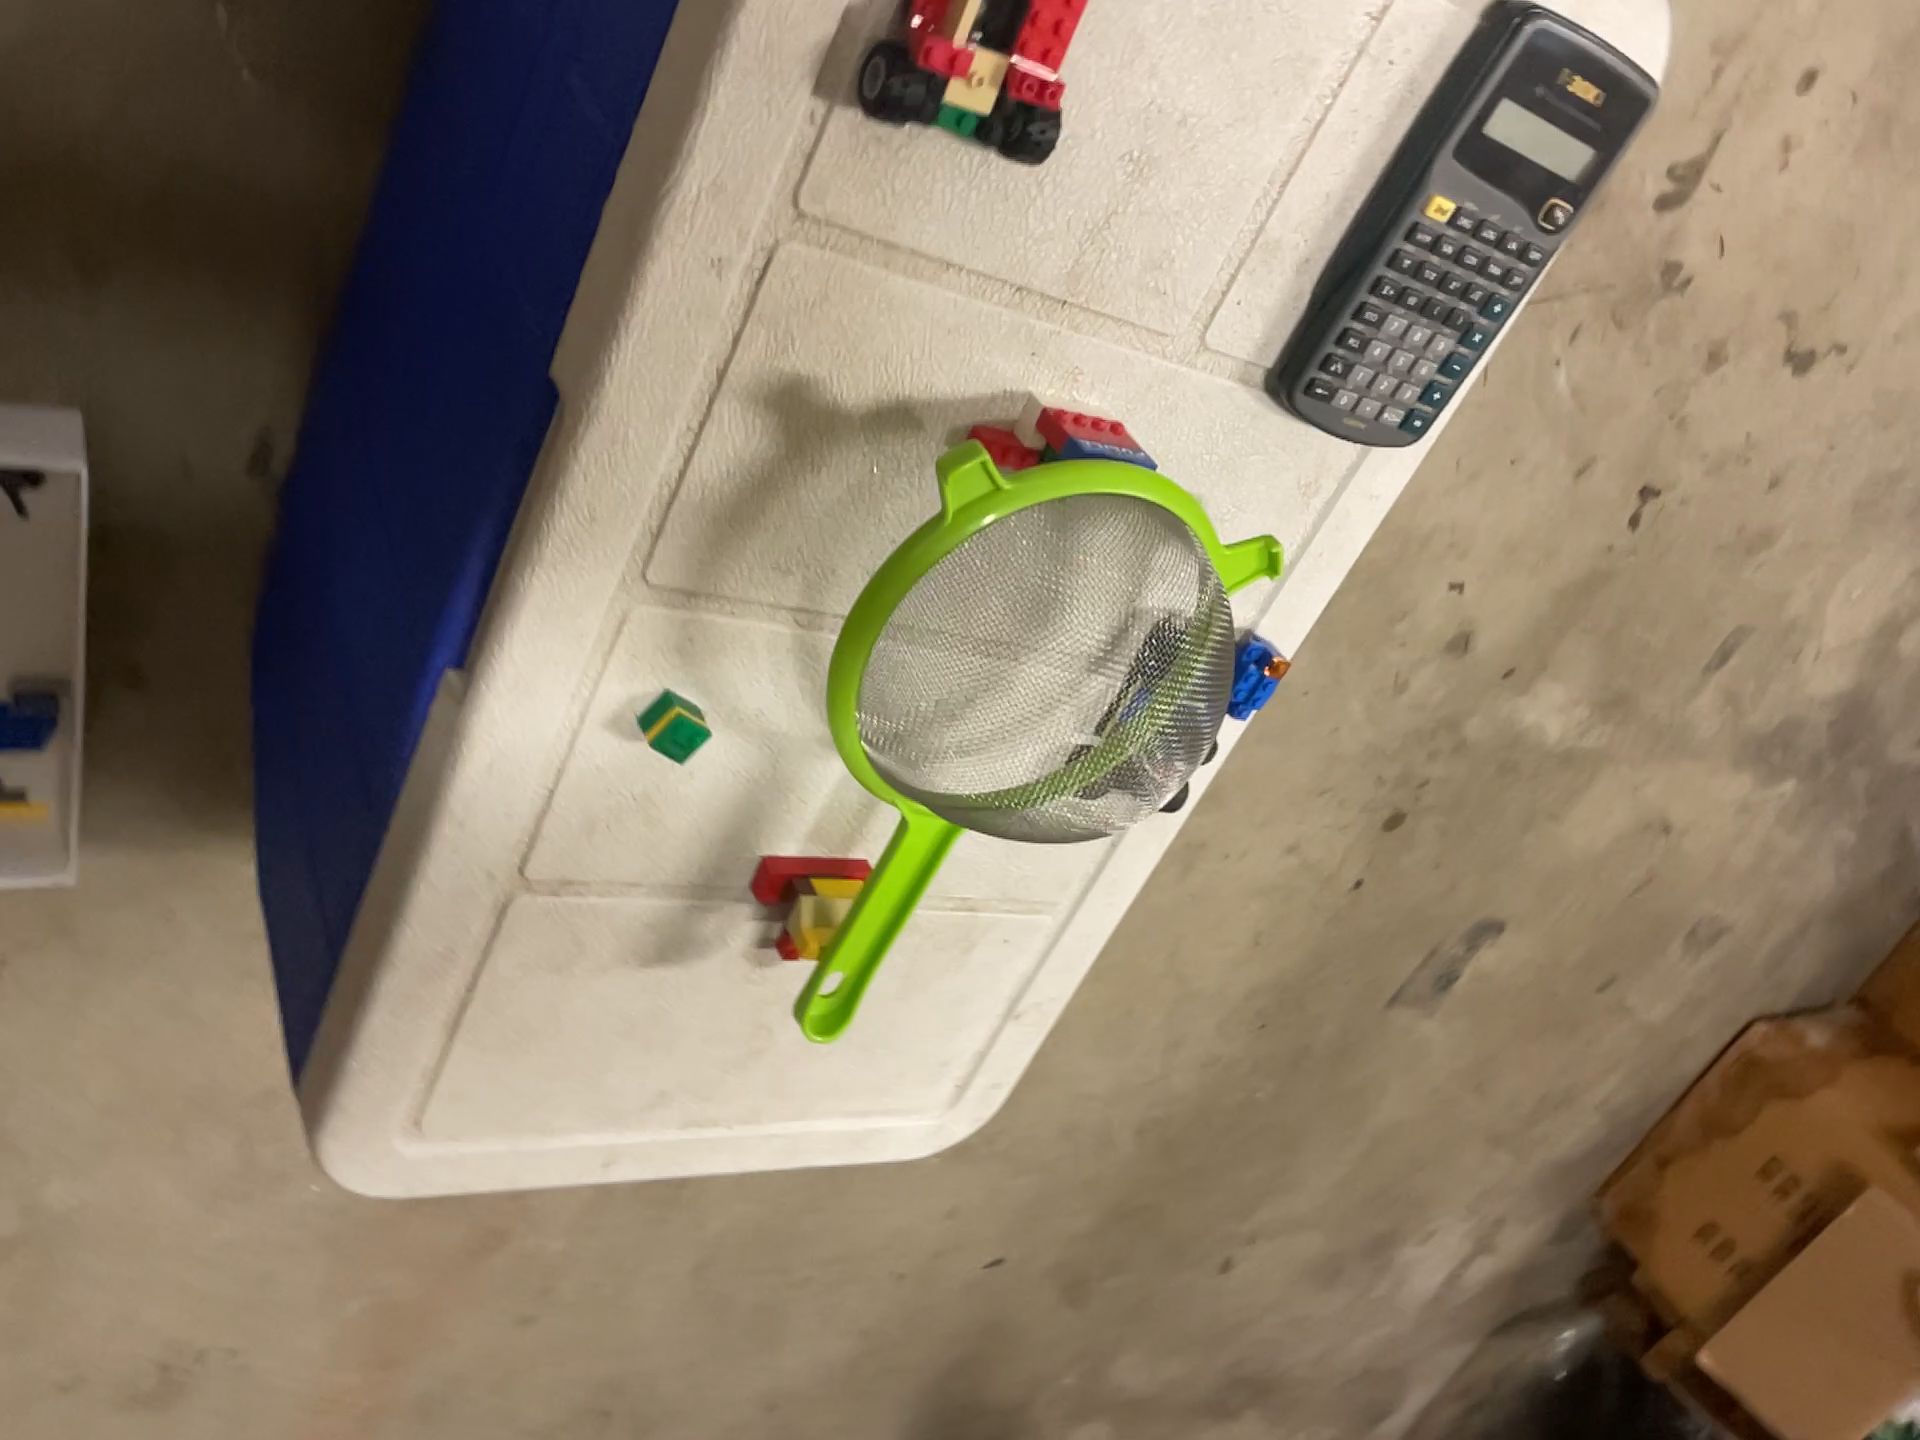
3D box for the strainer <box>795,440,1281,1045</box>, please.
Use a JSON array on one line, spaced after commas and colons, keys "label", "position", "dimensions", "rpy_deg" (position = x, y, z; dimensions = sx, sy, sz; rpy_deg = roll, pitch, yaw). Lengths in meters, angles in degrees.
[{"label": "strainer", "position": [0.012, 0.034, 0.554], "dimensions": [0.151, 0.069, 0.256], "rpy_deg": [9, 121, -38]}]
